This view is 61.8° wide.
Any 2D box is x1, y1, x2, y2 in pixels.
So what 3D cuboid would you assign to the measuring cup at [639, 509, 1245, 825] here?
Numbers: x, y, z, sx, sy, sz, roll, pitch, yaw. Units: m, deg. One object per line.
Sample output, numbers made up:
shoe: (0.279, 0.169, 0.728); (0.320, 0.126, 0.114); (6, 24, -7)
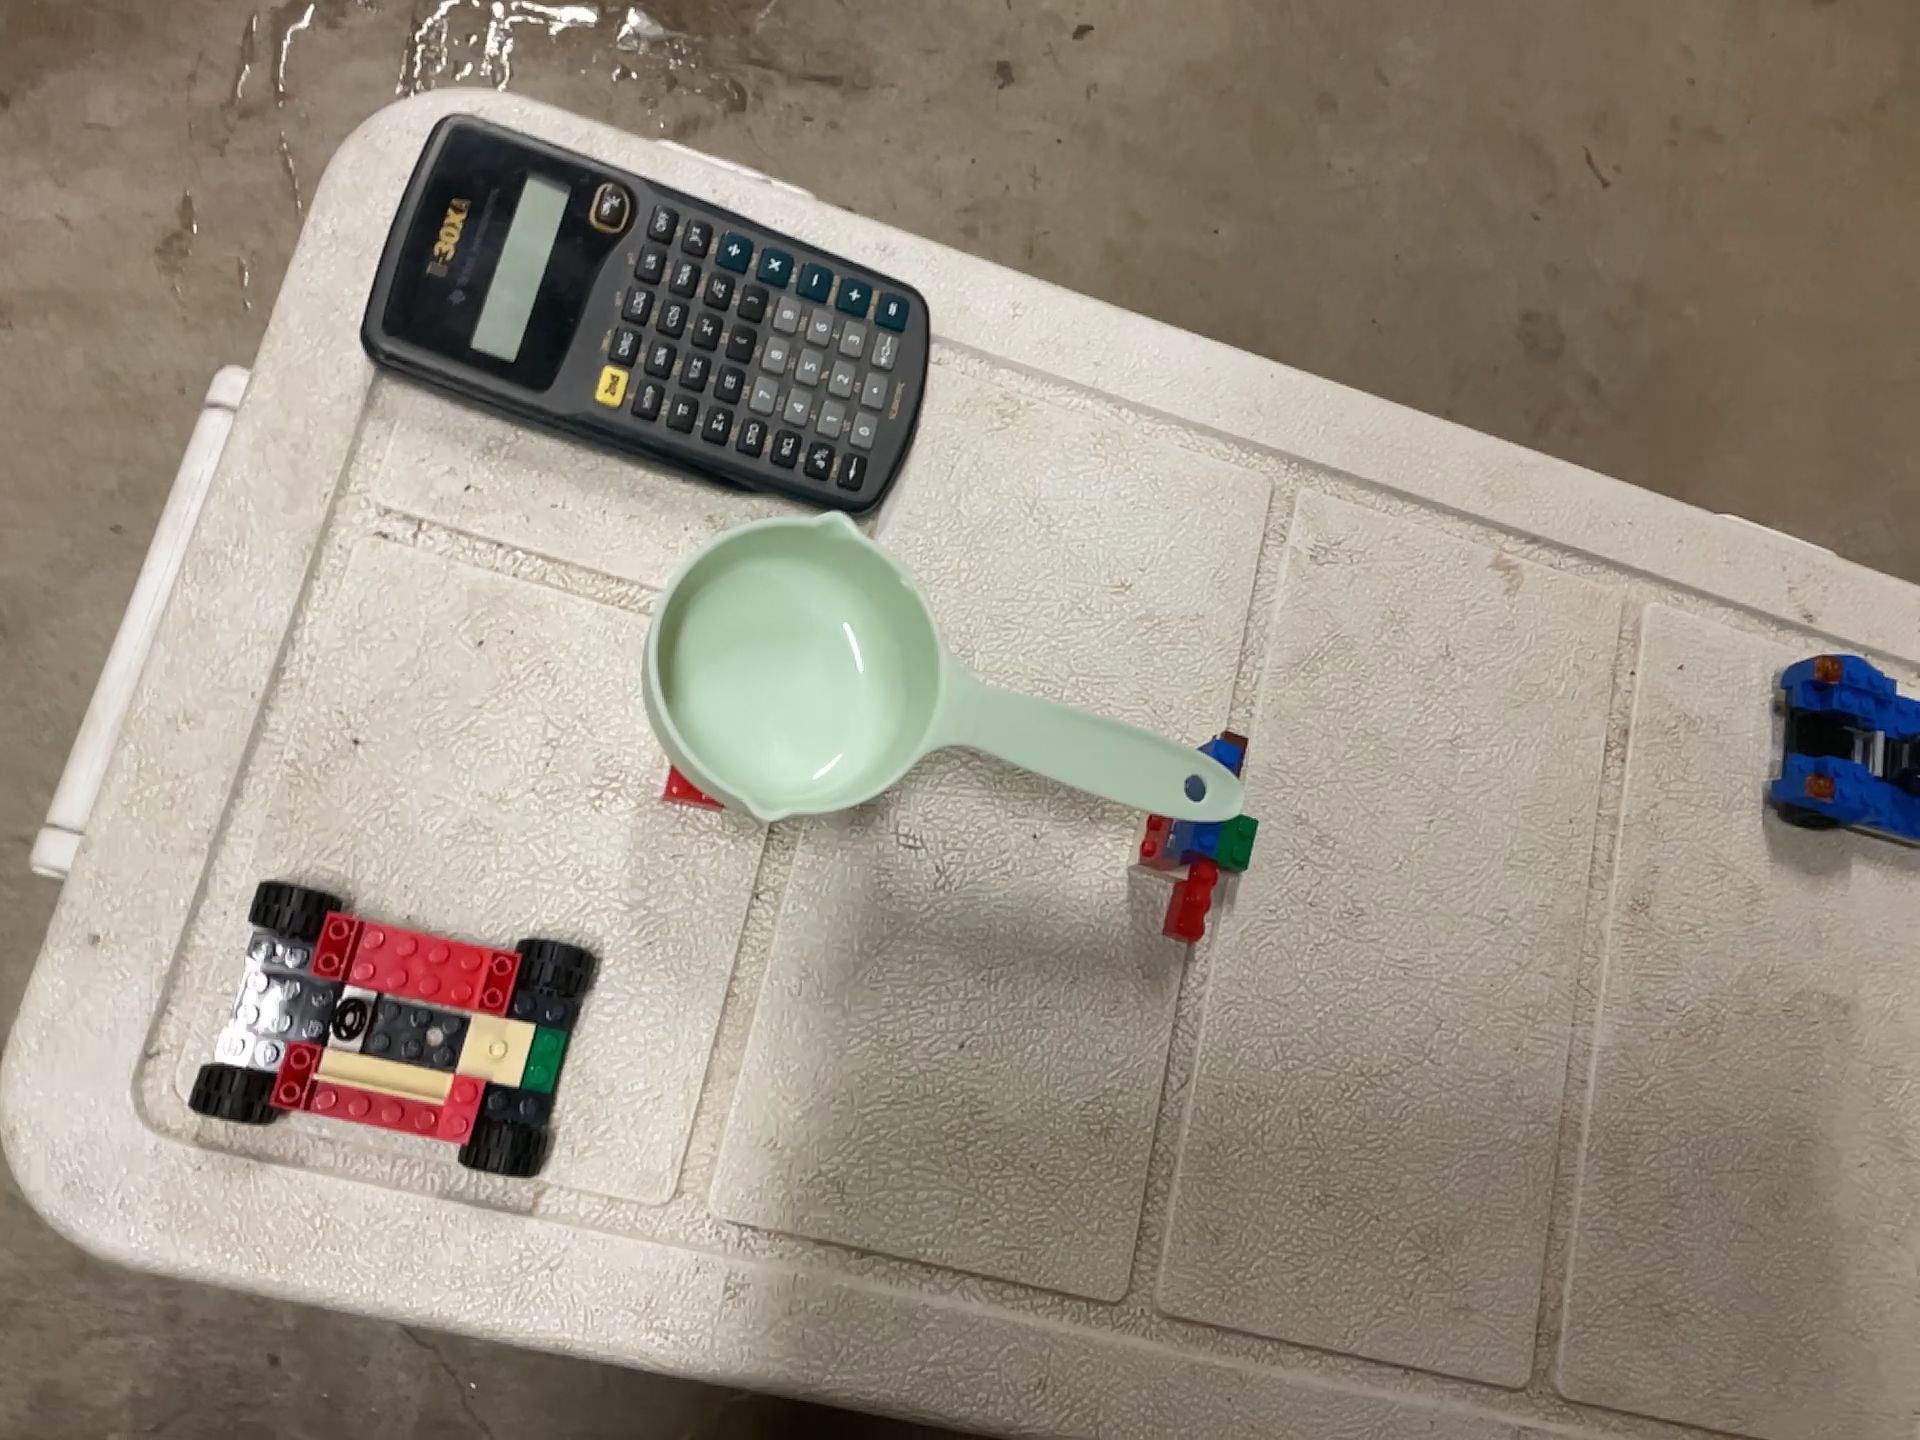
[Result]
measuring cup: (-0.004, 0.001, 0.428); (0.167, 0.038, 0.083); (16, 74, -18)
